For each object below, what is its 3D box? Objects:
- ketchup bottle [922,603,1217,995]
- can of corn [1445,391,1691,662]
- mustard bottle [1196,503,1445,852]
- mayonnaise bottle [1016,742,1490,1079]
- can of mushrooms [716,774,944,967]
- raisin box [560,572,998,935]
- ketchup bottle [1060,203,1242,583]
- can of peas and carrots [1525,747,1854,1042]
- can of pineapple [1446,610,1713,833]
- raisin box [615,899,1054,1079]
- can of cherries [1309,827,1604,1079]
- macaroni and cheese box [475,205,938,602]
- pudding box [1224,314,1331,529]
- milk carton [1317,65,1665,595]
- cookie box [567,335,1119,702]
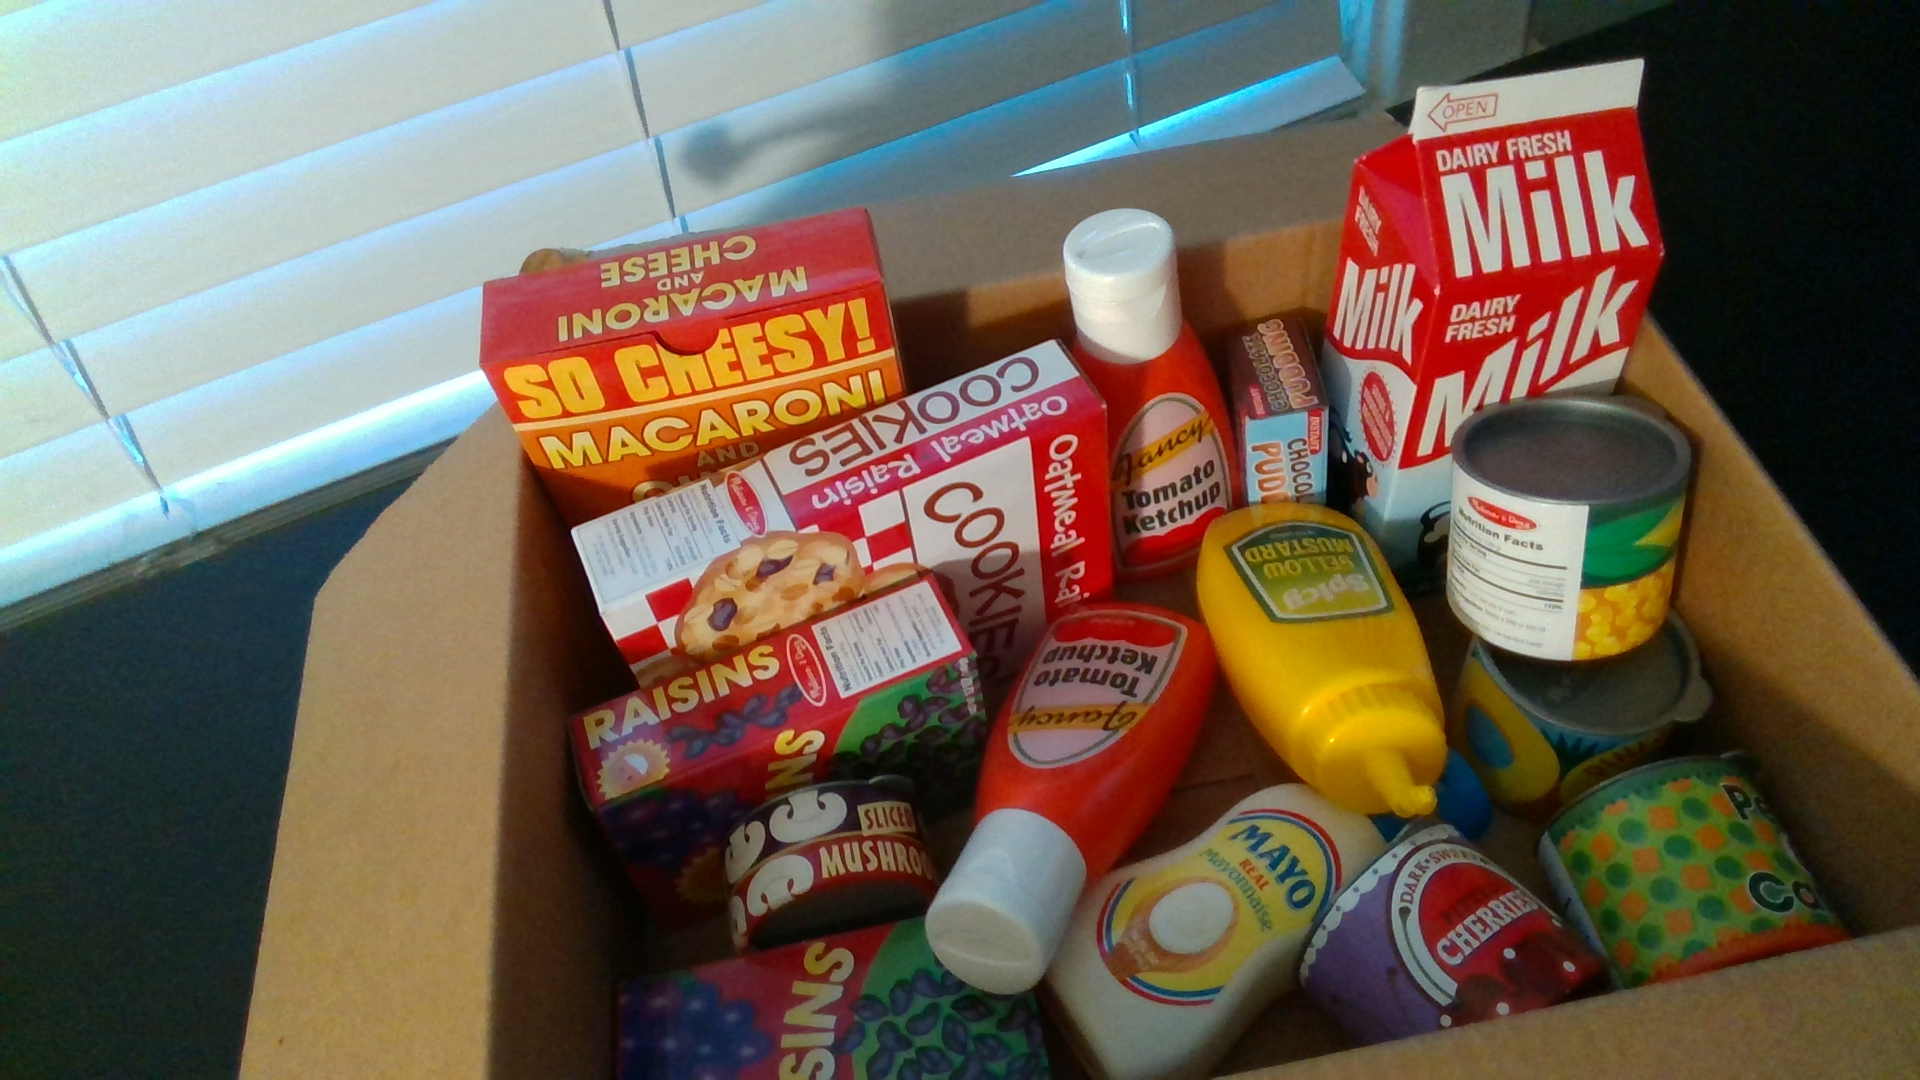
[{"bbox_3d":[0.034,0.075,0.433,0.065,0.043,0.149,2,29,24],"label":"ketchup bottle"},{"bbox_3d":[0.187,-0.006,0.429,0.071,0.058,0.071,-7,33,5],"label":"can of corn"},{"bbox_3d":[0.119,0.041,0.443,0.065,0.048,0.161,-7,28,-1],"label":"mustard bottle"},{"bbox_3d":[0.093,0.108,0.424,0.148,0.041,0.065,-28,49,-16],"label":"mayonnaise bottle"},{"bbox_3d":[-0.038,0.104,0.427,0.071,0.070,0.033,-14,51,-5],"label":"can of mushrooms"},{"bbox_3d":[-0.053,0.071,0.447,0.123,0.085,0.040,-21,51,-10],"label":"raisin box"},{"bbox_3d":[0.063,-0.048,0.487,0.065,0.148,0.044,-23,48,-4],"label":"ketchup bottle"},{"bbox_3d":[0.210,0.102,0.400,0.071,0.070,0.059,-12,51,-3],"label":"can of peas and carrots"},{"bbox_3d":[0.196,0.054,0.449,0.071,0.057,0.071,-2,45,2],"label":"can of pineapple"},{"bbox_3d":[-0.034,0.159,0.398,0.123,0.039,0.086,-11,47,-1],"label":"raisin box"},{"bbox_3d":[0.149,0.129,0.419,0.072,0.071,0.058,-31,50,-18],"label":"can of cherries"},{"bbox_3d":[-0.077,-0.028,0.479,0.124,0.165,0.040,-12,54,-3],"label":"macaroni and cheese box"},{"bbox_3d":[0.116,-0.036,0.513,0.030,0.083,0.050,-9,51,4],"label":"pudding box"},{"bbox_3d":[0.170,-0.069,0.467,0.072,0.189,0.074,-10,50,-4],"label":"milk carton"},{"bbox_3d":[-0.029,0.013,0.467,0.168,0.122,0.040,-23,52,-11],"label":"cookie box"}]
